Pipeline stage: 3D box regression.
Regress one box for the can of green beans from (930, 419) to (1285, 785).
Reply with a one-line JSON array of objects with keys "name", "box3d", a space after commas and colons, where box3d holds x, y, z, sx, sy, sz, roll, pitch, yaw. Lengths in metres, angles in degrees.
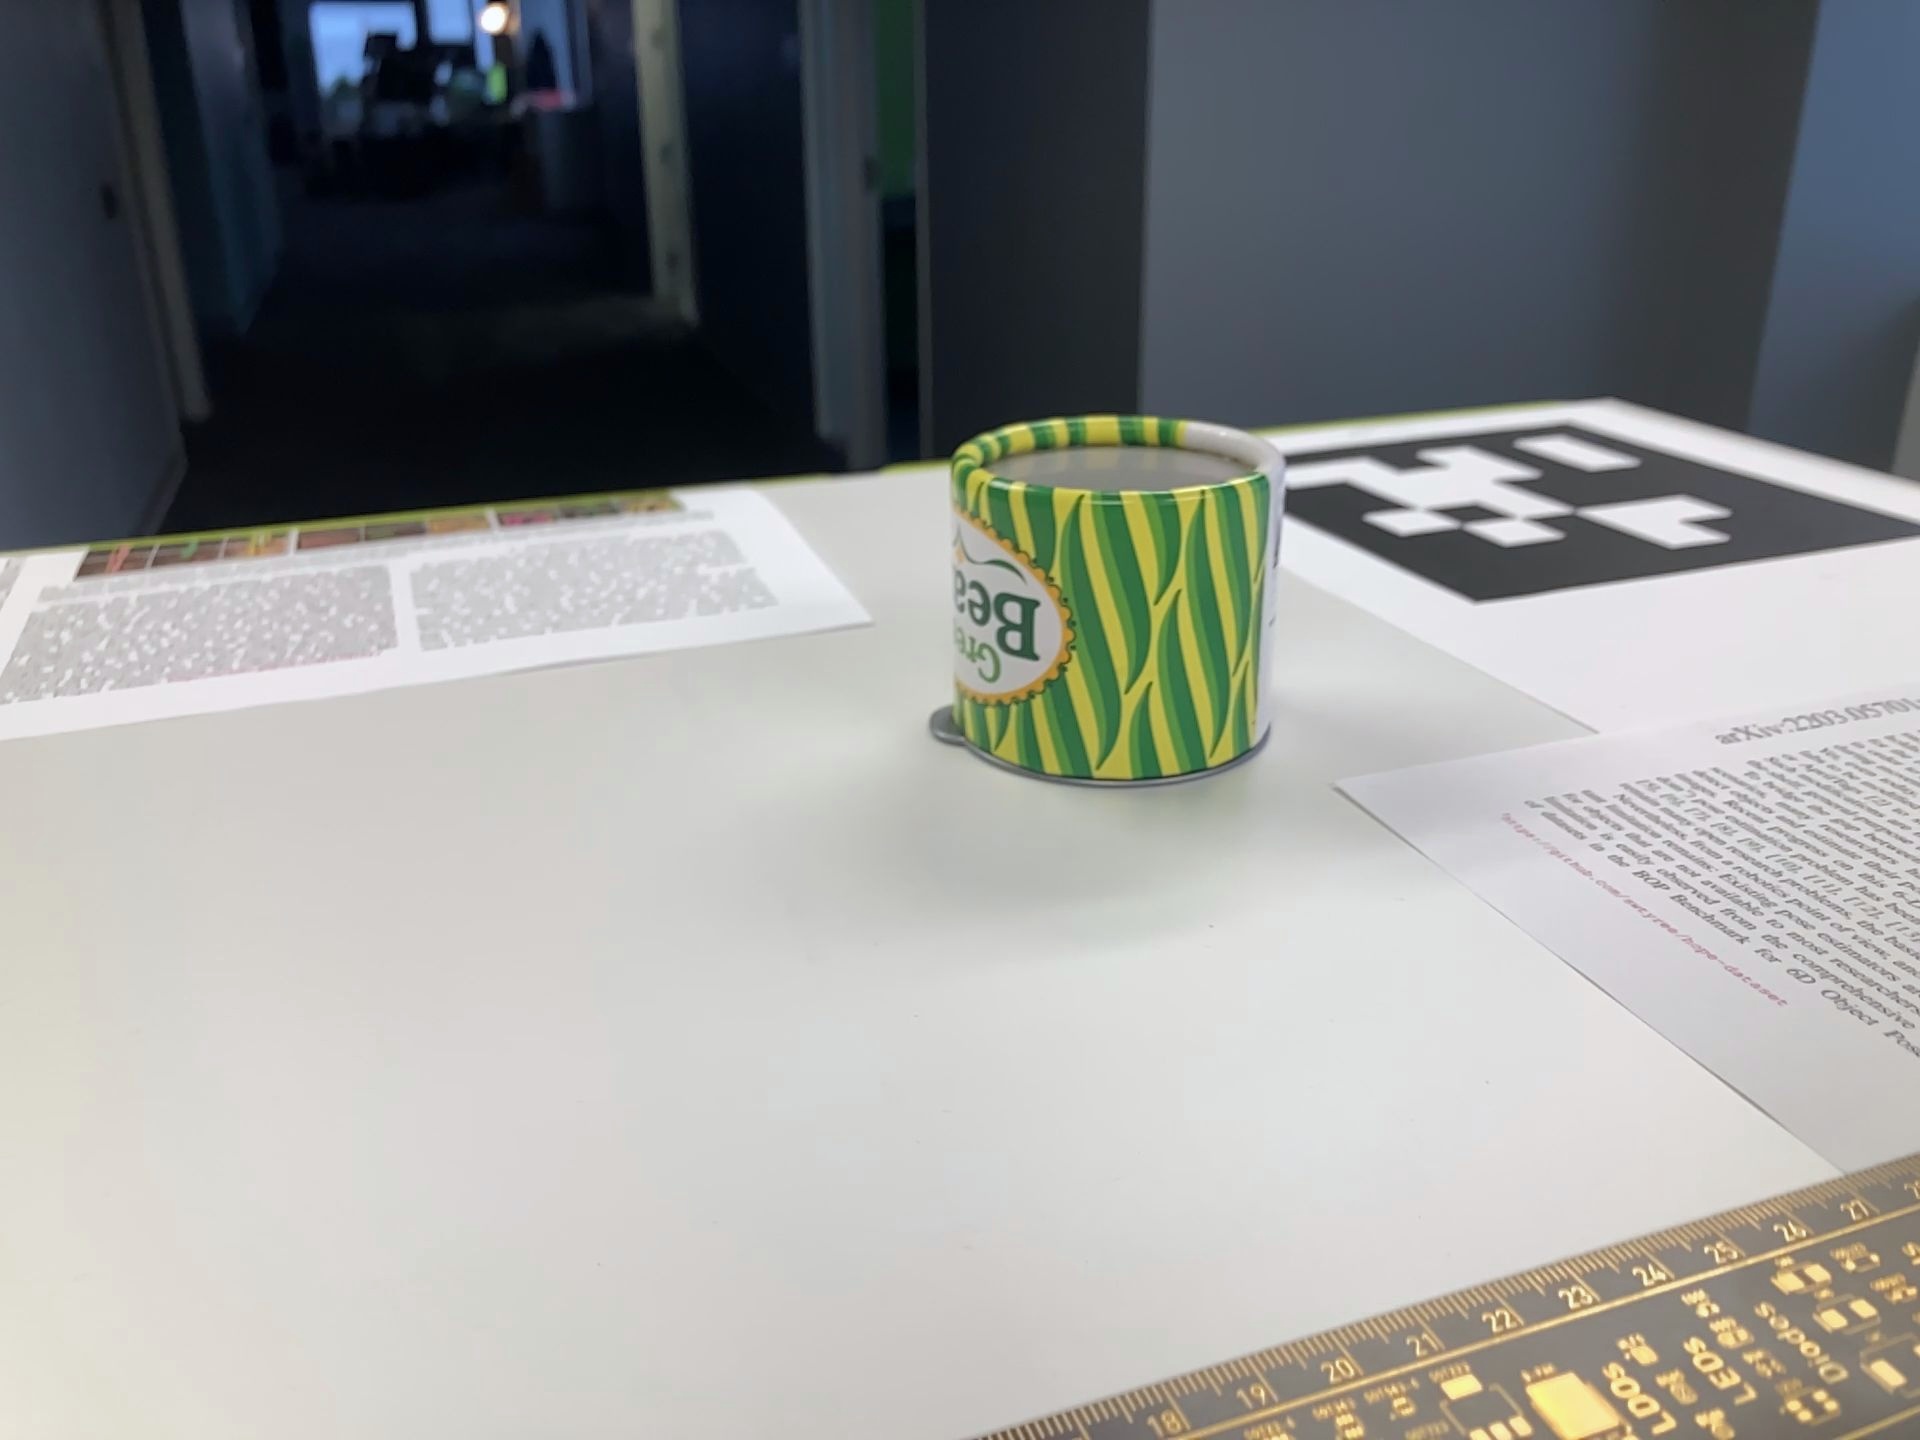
[{"name": "can of green beans", "box3d": [0.031, -0.027, 0.327, 0.071, 0.058, 0.071, -1, 22, 0]}]
